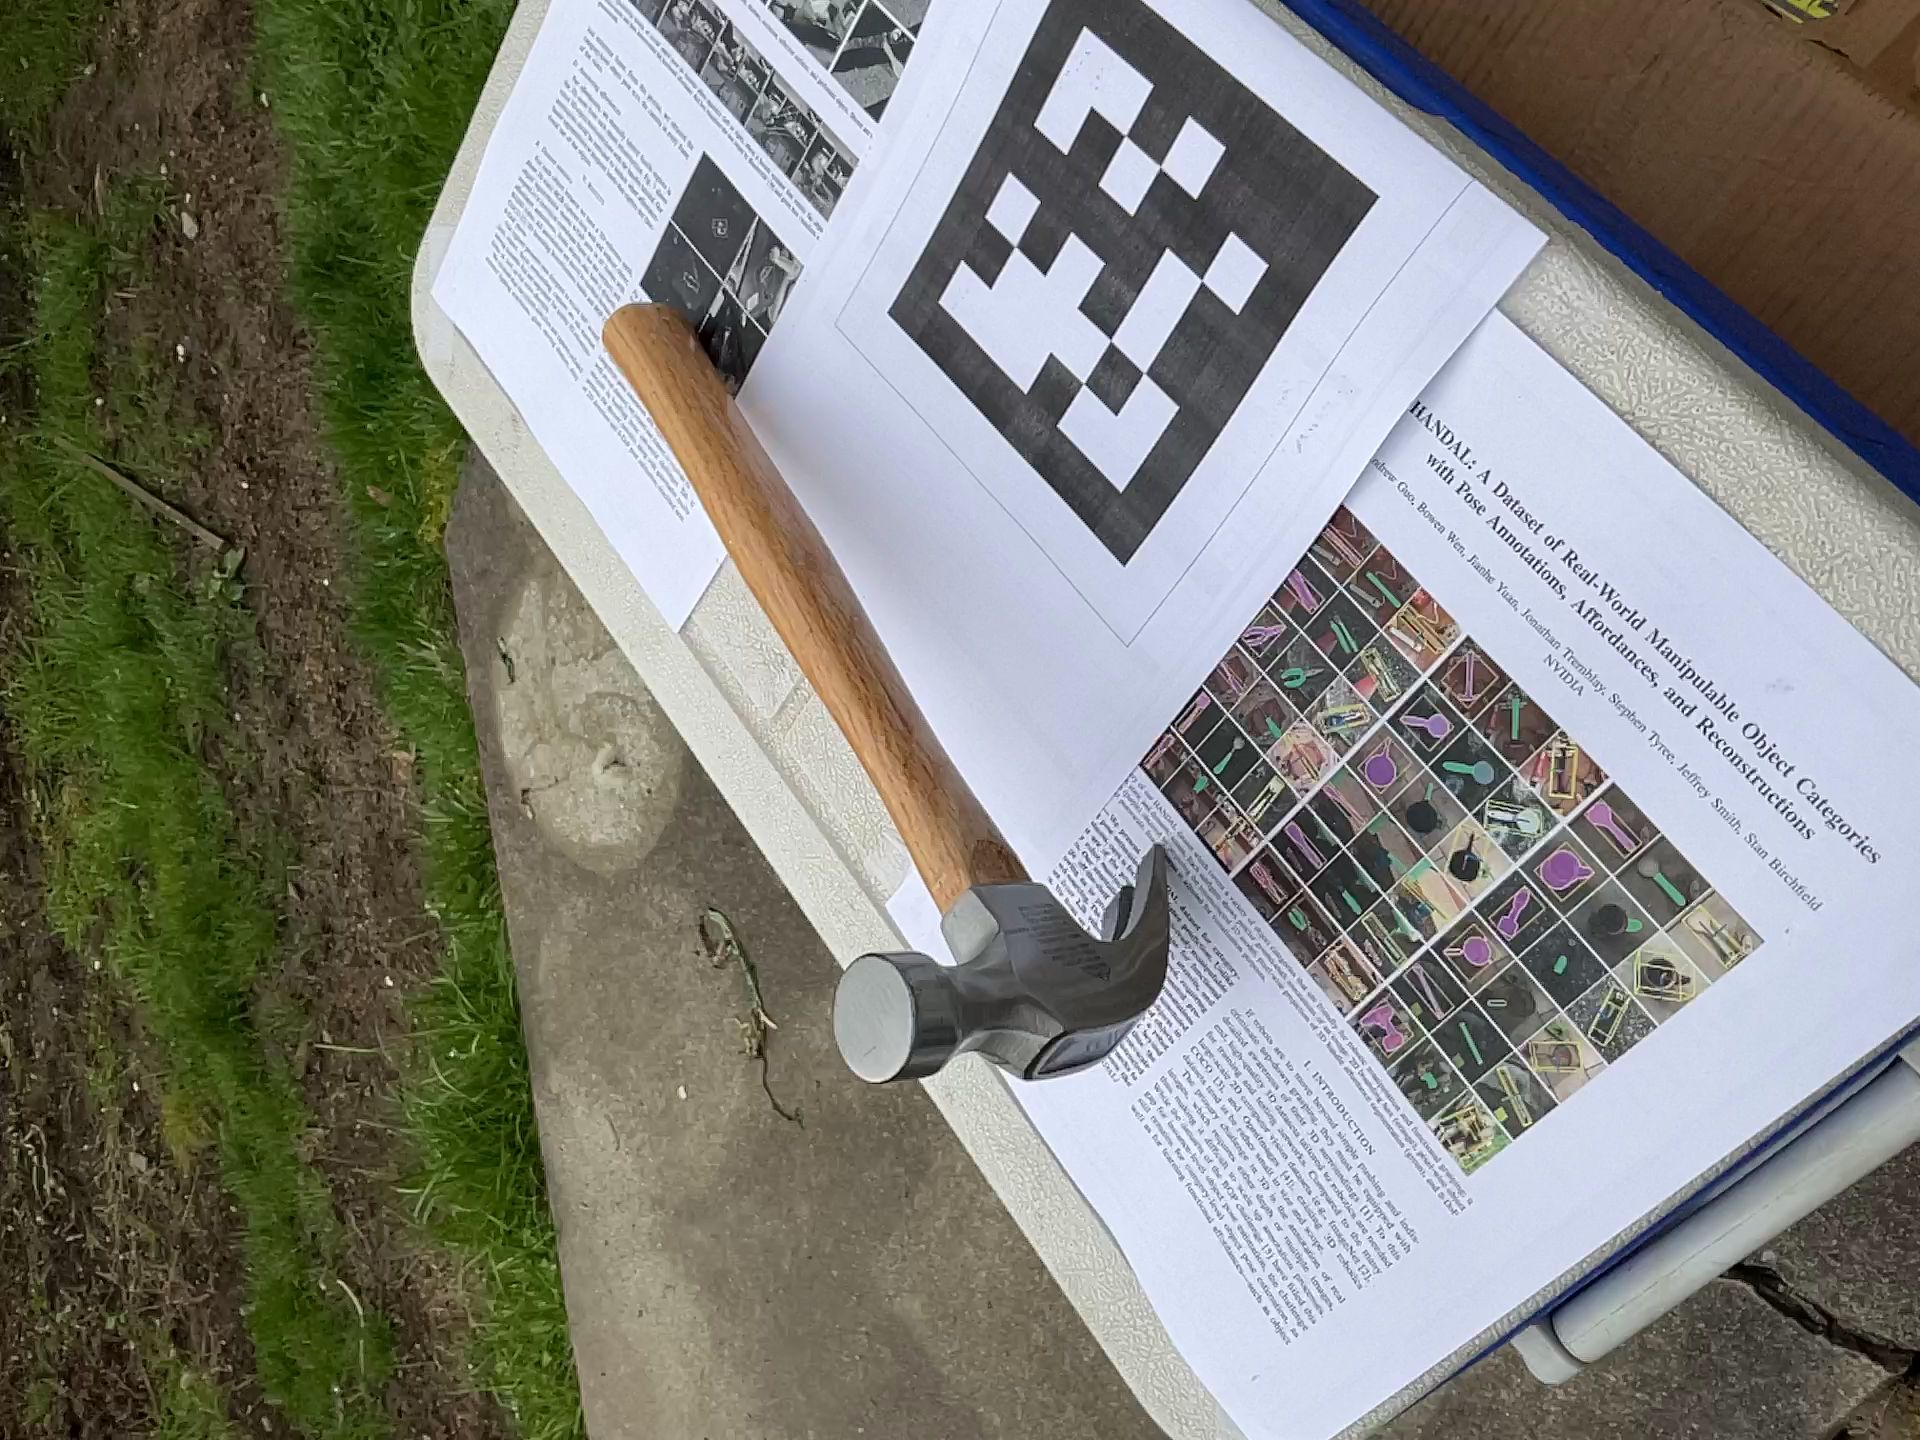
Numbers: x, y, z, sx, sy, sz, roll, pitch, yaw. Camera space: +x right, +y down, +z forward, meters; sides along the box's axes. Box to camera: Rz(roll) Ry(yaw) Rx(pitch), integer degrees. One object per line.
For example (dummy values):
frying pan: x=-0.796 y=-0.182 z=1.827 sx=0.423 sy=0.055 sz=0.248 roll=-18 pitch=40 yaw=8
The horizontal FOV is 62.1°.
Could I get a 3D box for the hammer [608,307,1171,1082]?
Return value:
hammer: x=-0.040 y=-0.029 z=0.511 sx=0.031 sy=0.129 sz=0.332 roll=-54 pitch=51 yaw=29
